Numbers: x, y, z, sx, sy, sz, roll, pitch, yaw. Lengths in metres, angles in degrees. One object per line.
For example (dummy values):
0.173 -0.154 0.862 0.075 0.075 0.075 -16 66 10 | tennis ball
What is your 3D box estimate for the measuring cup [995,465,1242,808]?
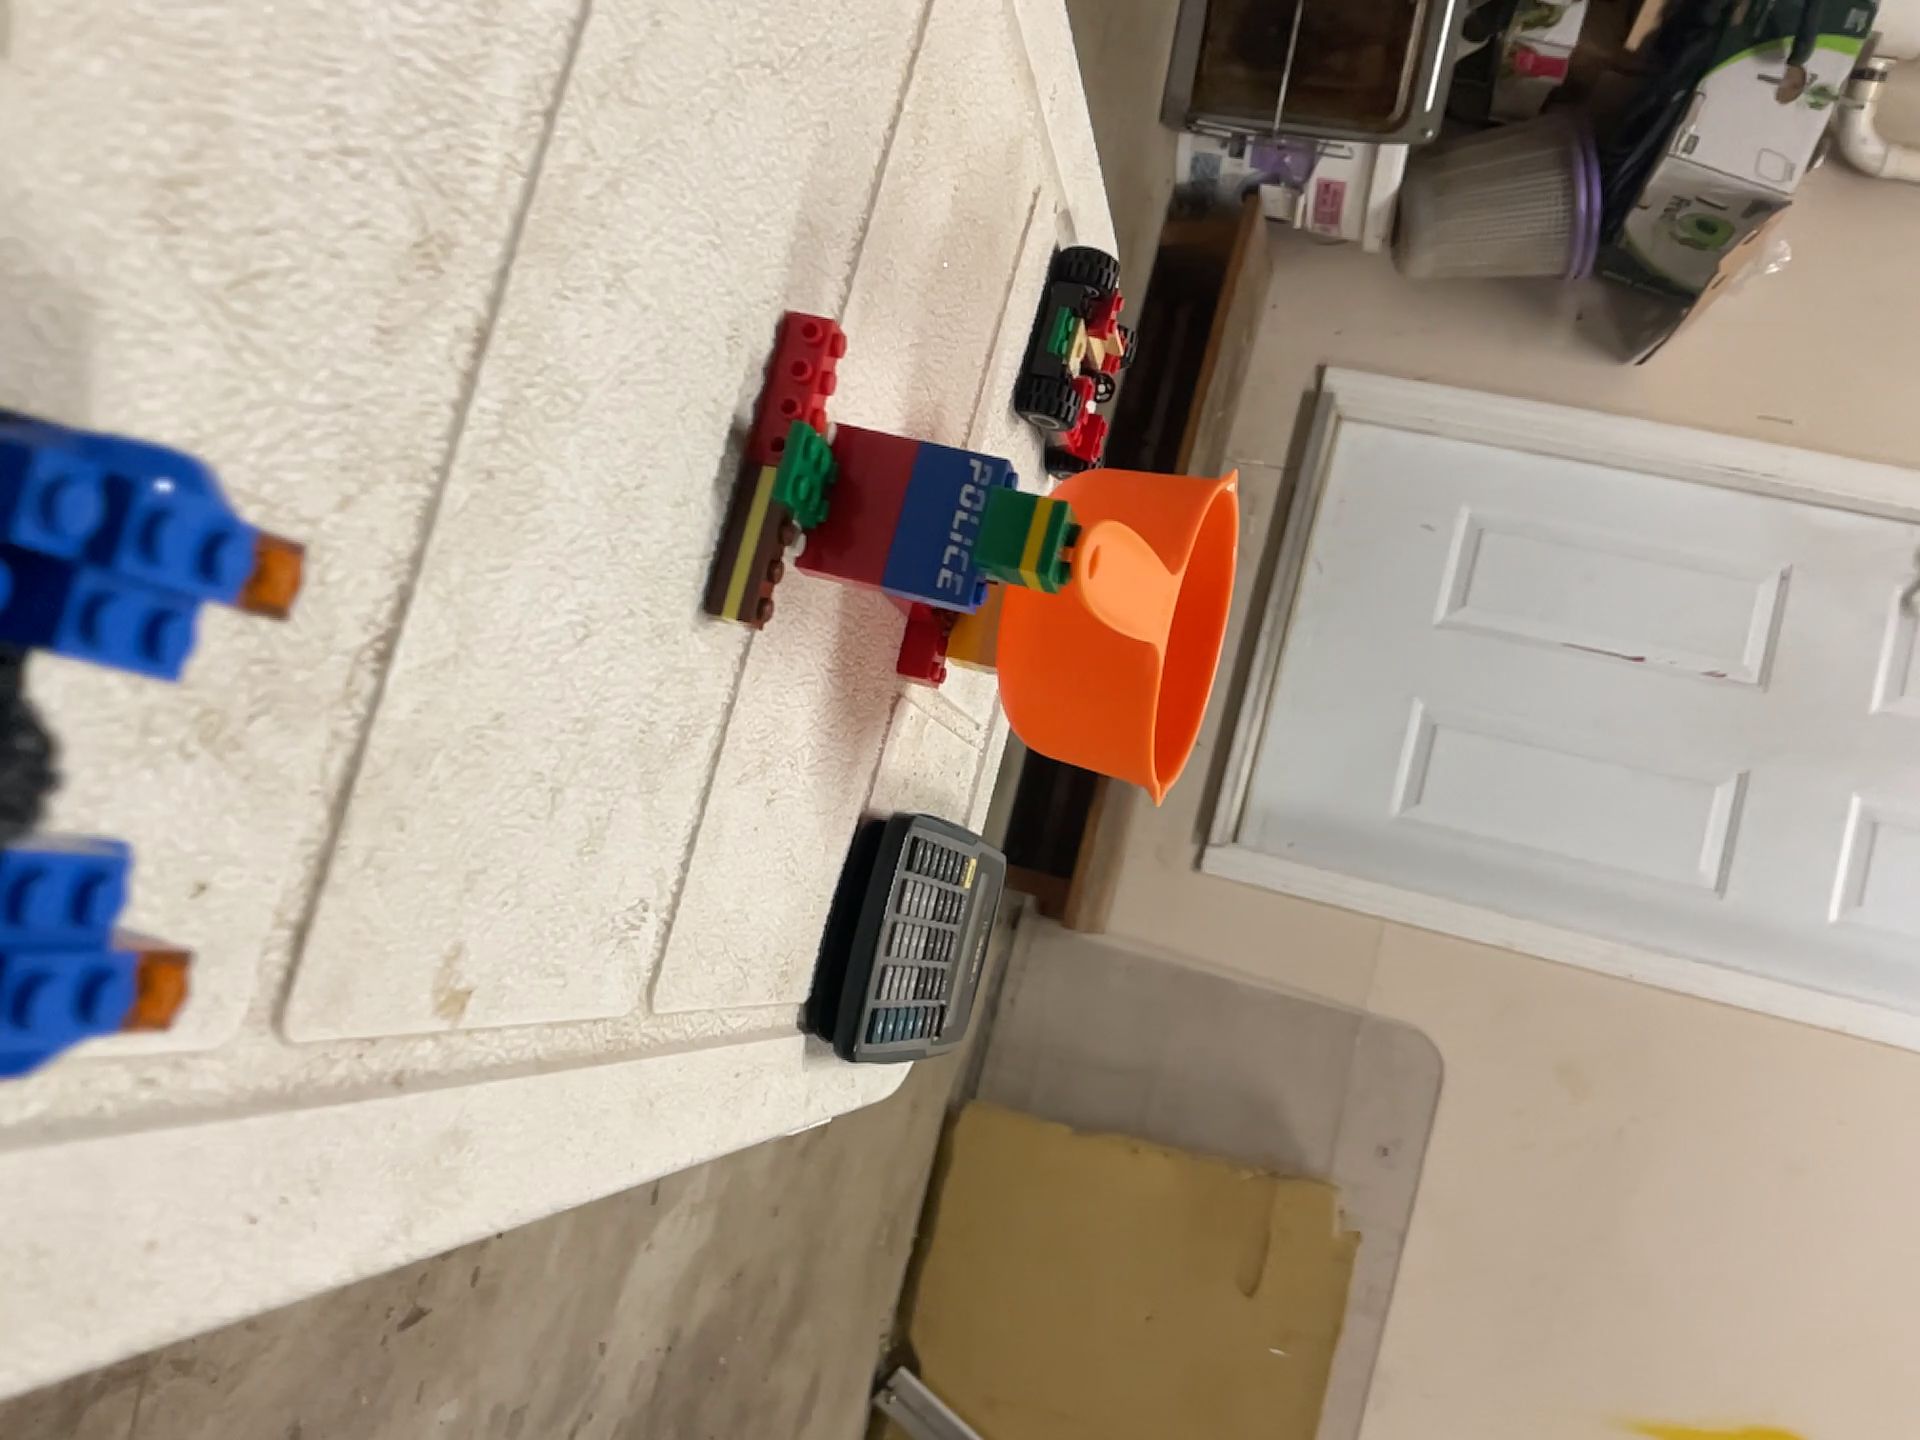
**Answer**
0.031 -0.031 0.408 0.173 0.052 0.095 16 87 -72 | measuring cup
